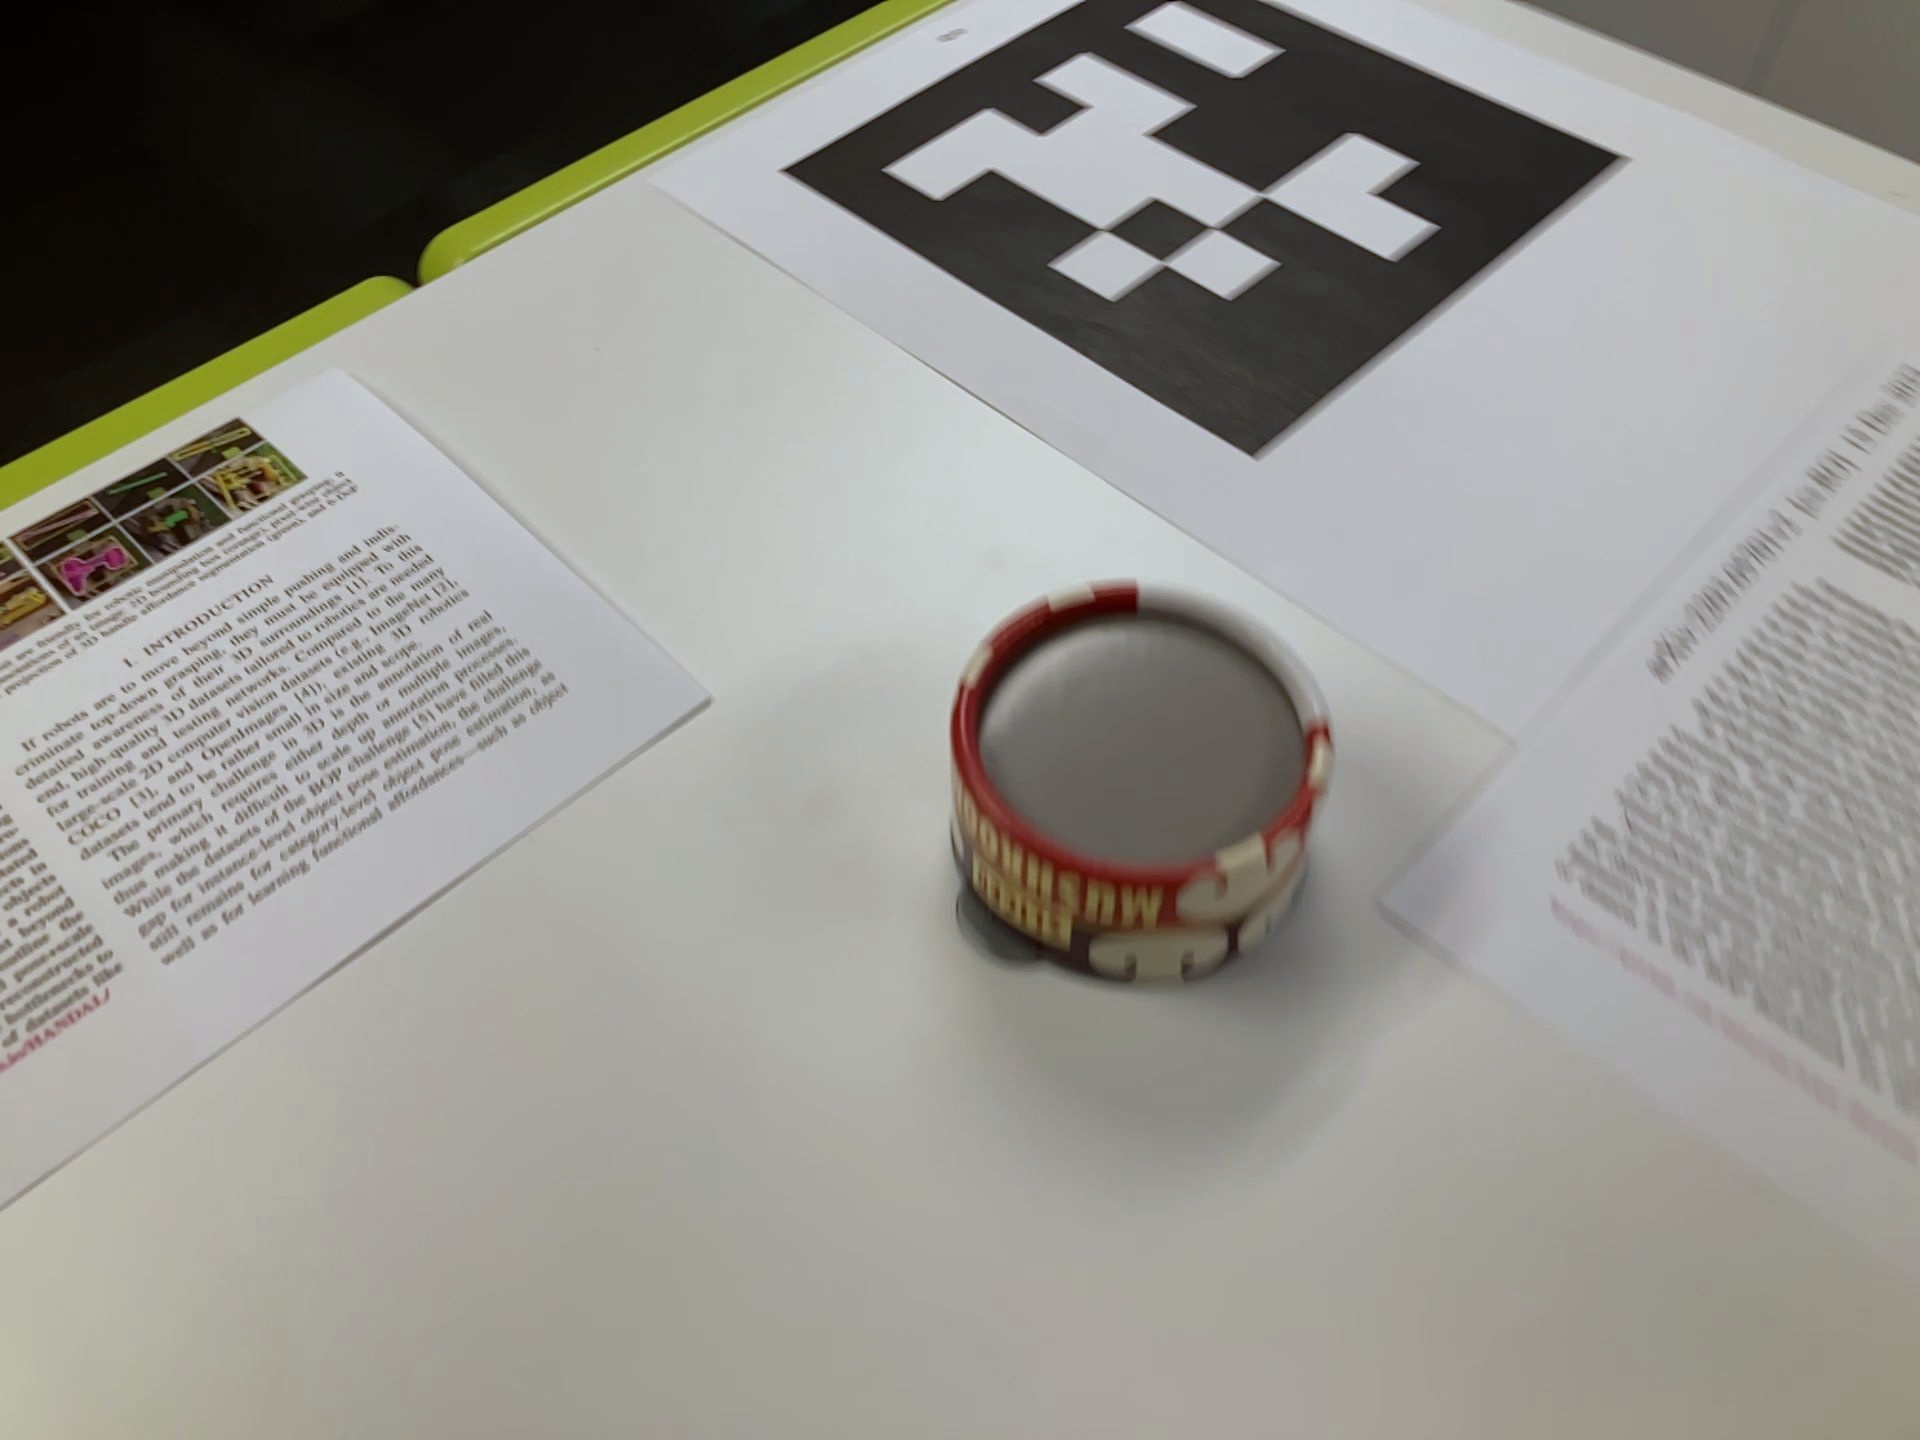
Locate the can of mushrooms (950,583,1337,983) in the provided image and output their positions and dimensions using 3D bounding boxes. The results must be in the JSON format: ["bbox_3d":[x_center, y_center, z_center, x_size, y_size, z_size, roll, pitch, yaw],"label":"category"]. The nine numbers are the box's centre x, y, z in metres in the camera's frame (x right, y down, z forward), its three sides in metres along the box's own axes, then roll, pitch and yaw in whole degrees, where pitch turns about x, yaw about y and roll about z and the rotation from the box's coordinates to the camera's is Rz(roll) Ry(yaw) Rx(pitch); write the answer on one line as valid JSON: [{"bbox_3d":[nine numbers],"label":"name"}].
[{"bbox_3d":[0.030,0.011,0.279,0.071,0.033,0.071,0,53,0],"label":"can of mushrooms"}]
